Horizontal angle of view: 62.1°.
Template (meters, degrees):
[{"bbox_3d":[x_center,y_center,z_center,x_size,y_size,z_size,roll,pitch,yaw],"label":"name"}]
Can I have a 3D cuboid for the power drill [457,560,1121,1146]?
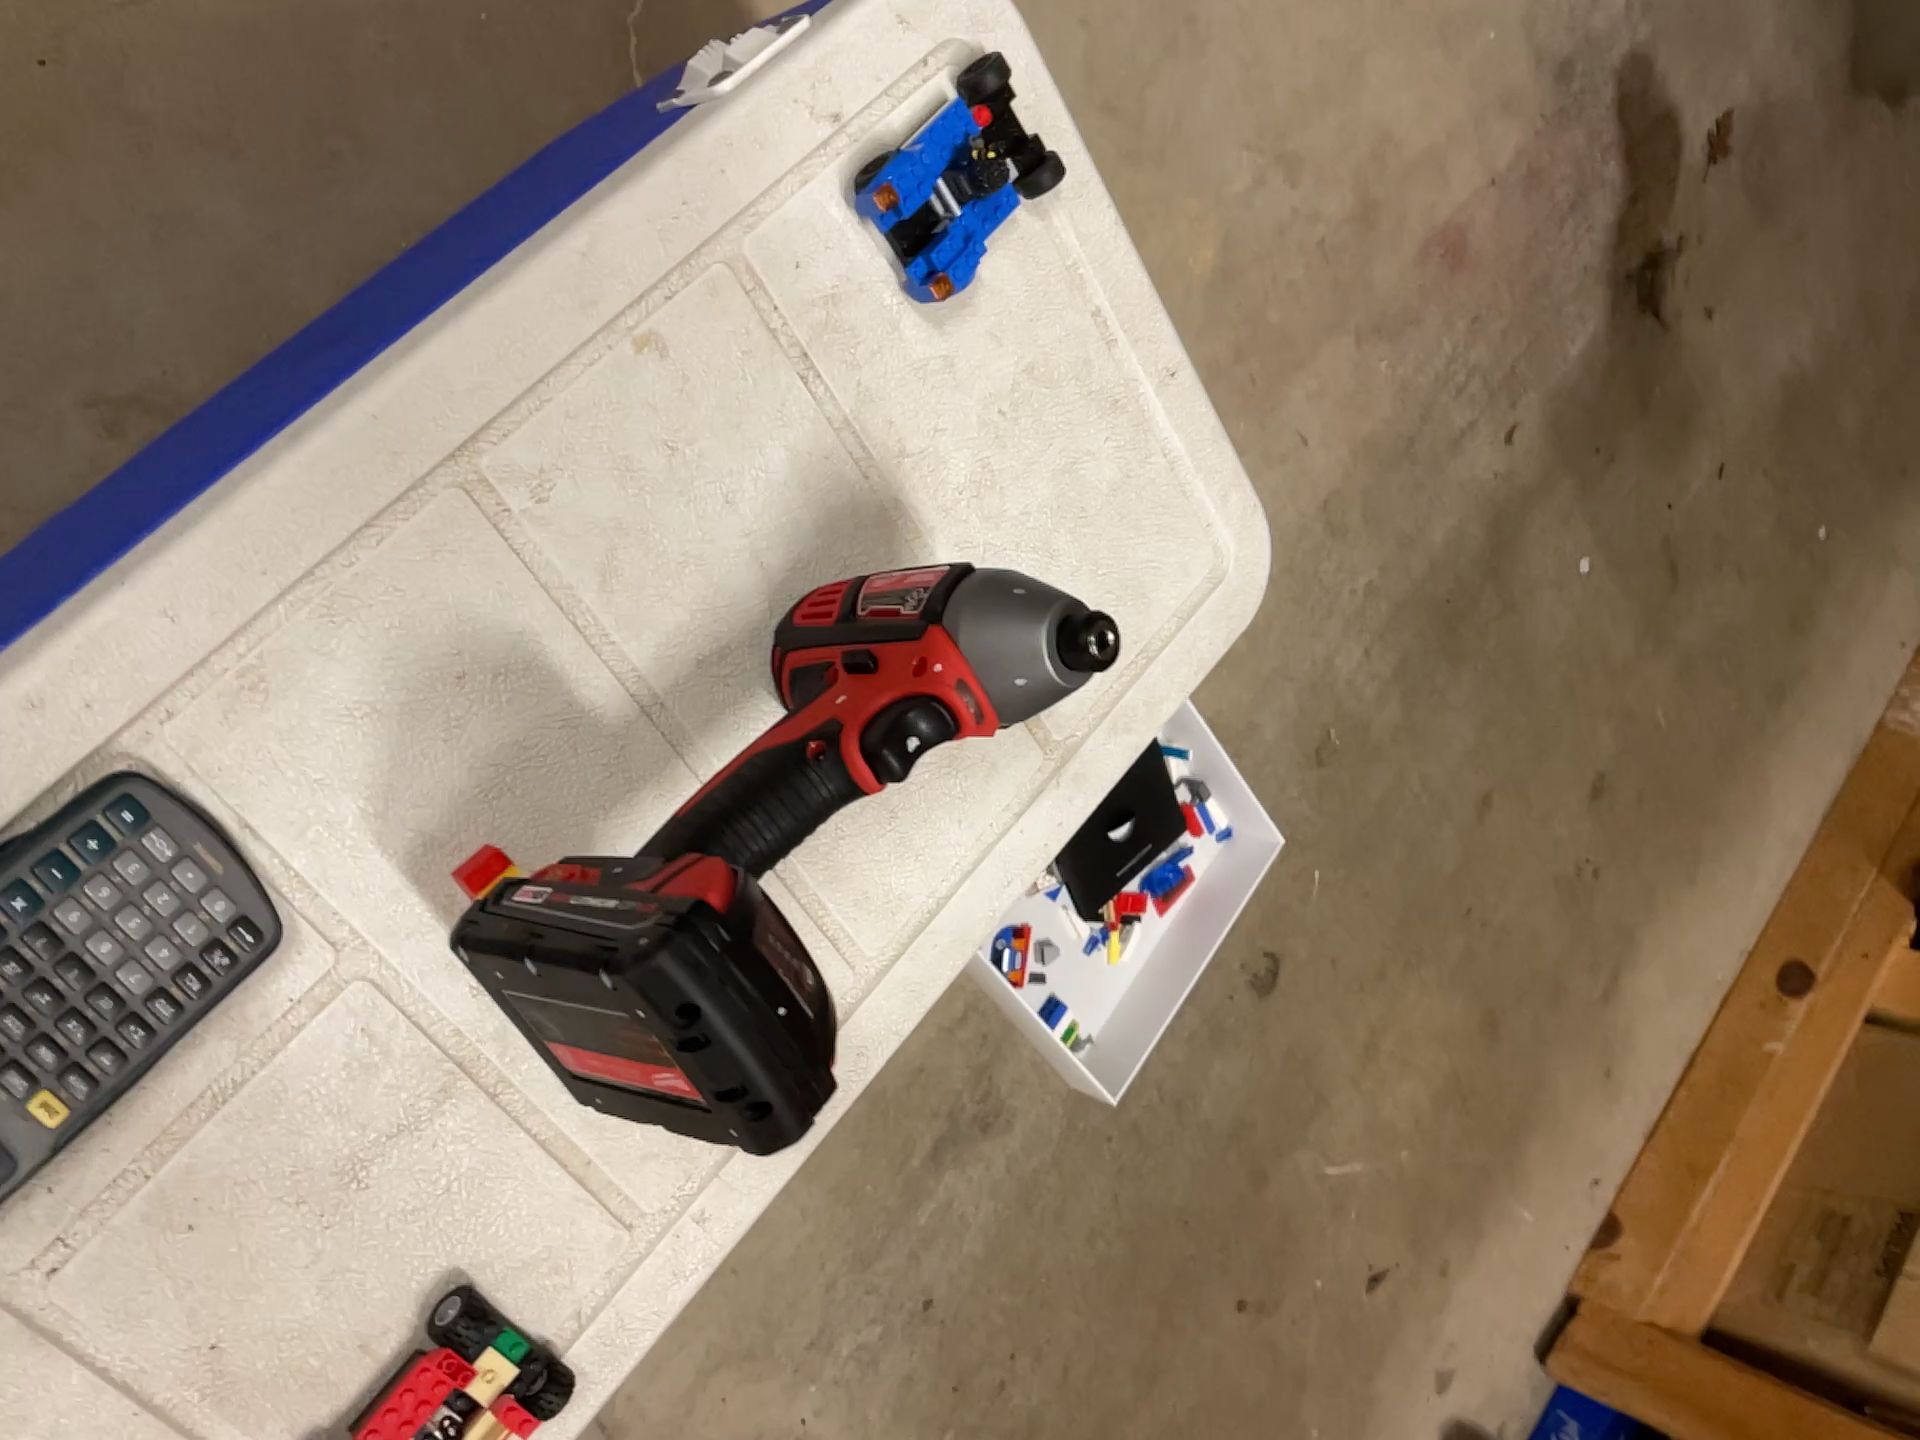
[{"bbox_3d":[-0.044,0.026,0.529,0.220,0.143,0.078,-52,125,-36],"label":"power drill"}]
